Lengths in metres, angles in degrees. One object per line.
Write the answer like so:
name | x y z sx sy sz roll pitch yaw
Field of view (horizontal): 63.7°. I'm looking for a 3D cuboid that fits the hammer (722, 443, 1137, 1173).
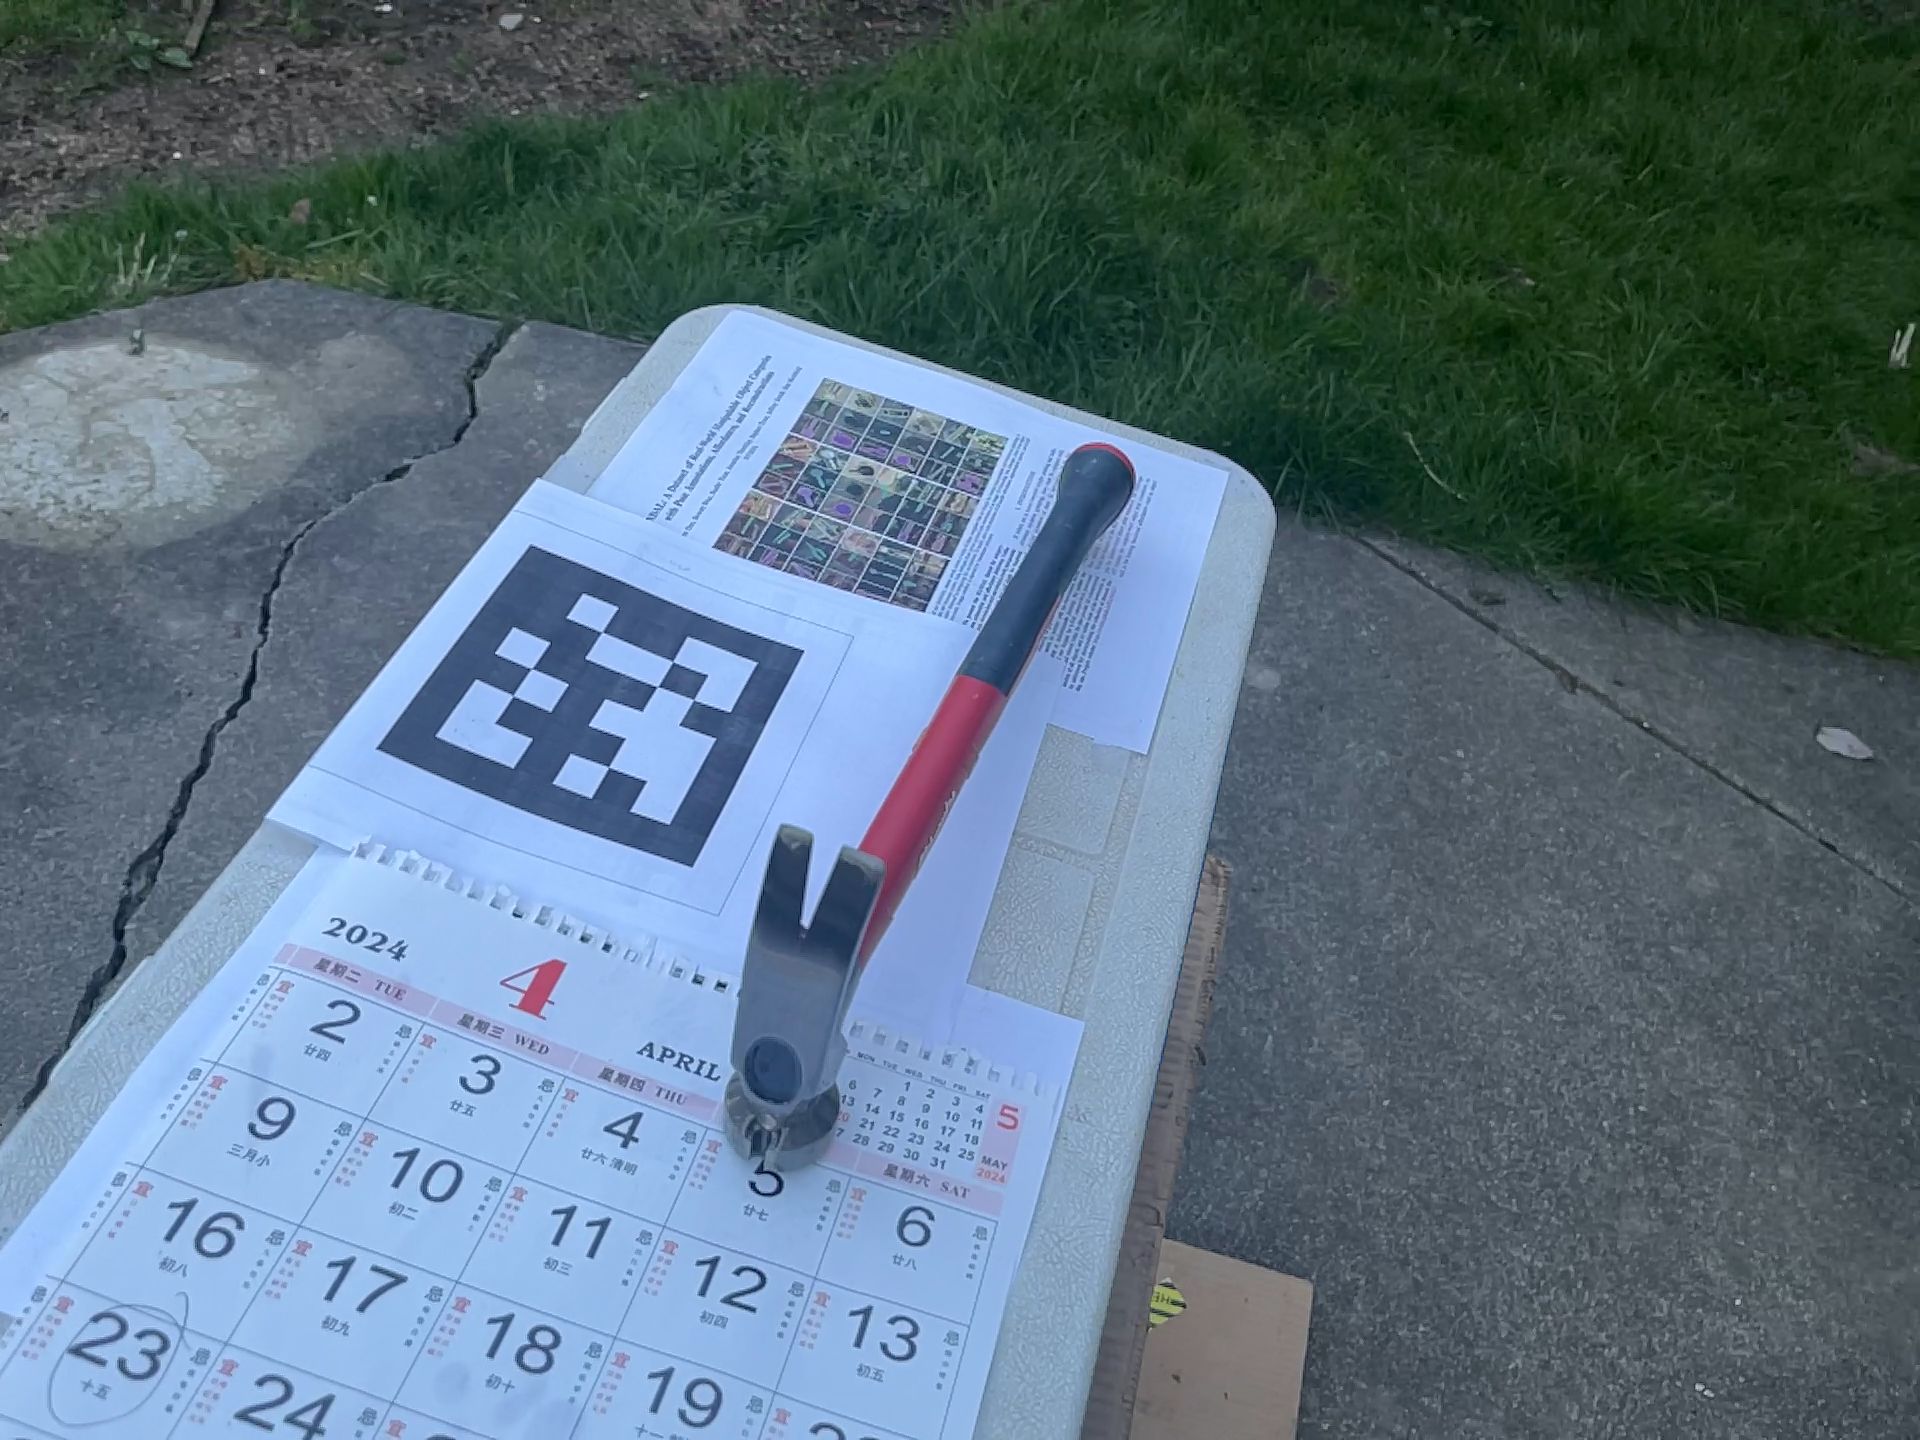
hammer | 0.010 -0.019 0.596 0.038 0.143 0.387 21 42 7
